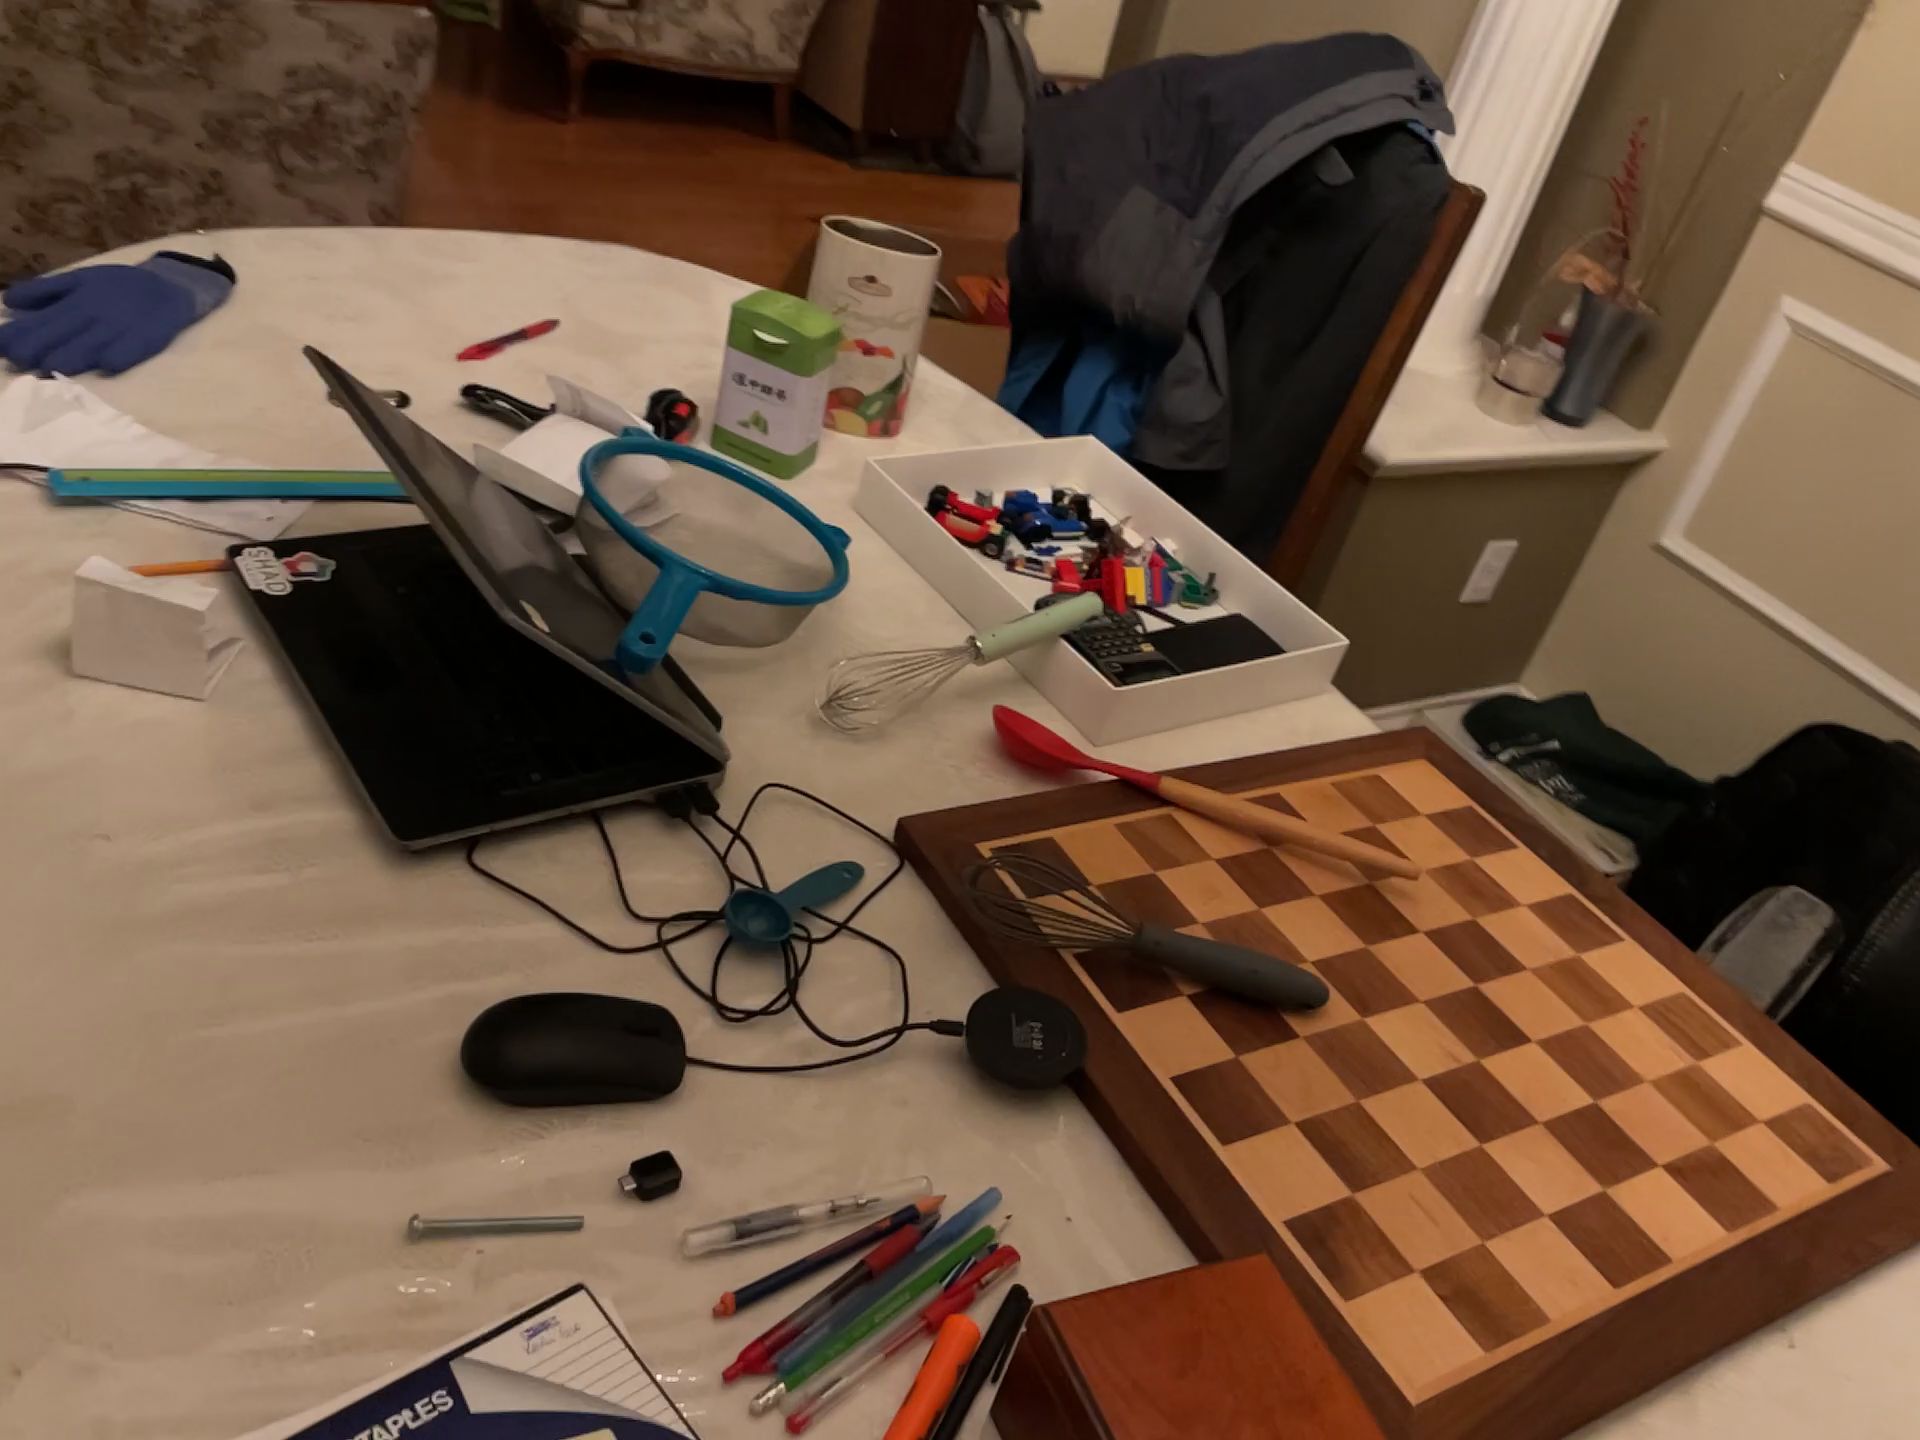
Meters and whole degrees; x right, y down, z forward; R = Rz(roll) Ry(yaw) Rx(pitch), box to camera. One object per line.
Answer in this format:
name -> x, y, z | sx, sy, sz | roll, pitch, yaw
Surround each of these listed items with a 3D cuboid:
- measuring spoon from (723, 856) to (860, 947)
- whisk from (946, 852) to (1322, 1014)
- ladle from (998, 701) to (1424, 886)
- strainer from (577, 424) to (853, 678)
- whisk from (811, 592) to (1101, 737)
measuring spoon -> -0.099, 0.109, 0.959 | 0.042, 0.021, 0.128 | 37, 26, 16
whisk -> 0.106, 0.134, 0.959 | 0.239, 0.055, 0.055 | 19, 47, -3
ladle -> 0.168, 0.054, 1.110 | 0.315, 0.031, 0.069 | 20, 12, 15
strainer -> -0.199, -0.086, 1.119 | 0.211, 0.095, 0.340 | 26, 27, -8
whisk -> 0.002, -0.048, 1.163 | 0.246, 0.058, 0.059 | -22, 78, -25
